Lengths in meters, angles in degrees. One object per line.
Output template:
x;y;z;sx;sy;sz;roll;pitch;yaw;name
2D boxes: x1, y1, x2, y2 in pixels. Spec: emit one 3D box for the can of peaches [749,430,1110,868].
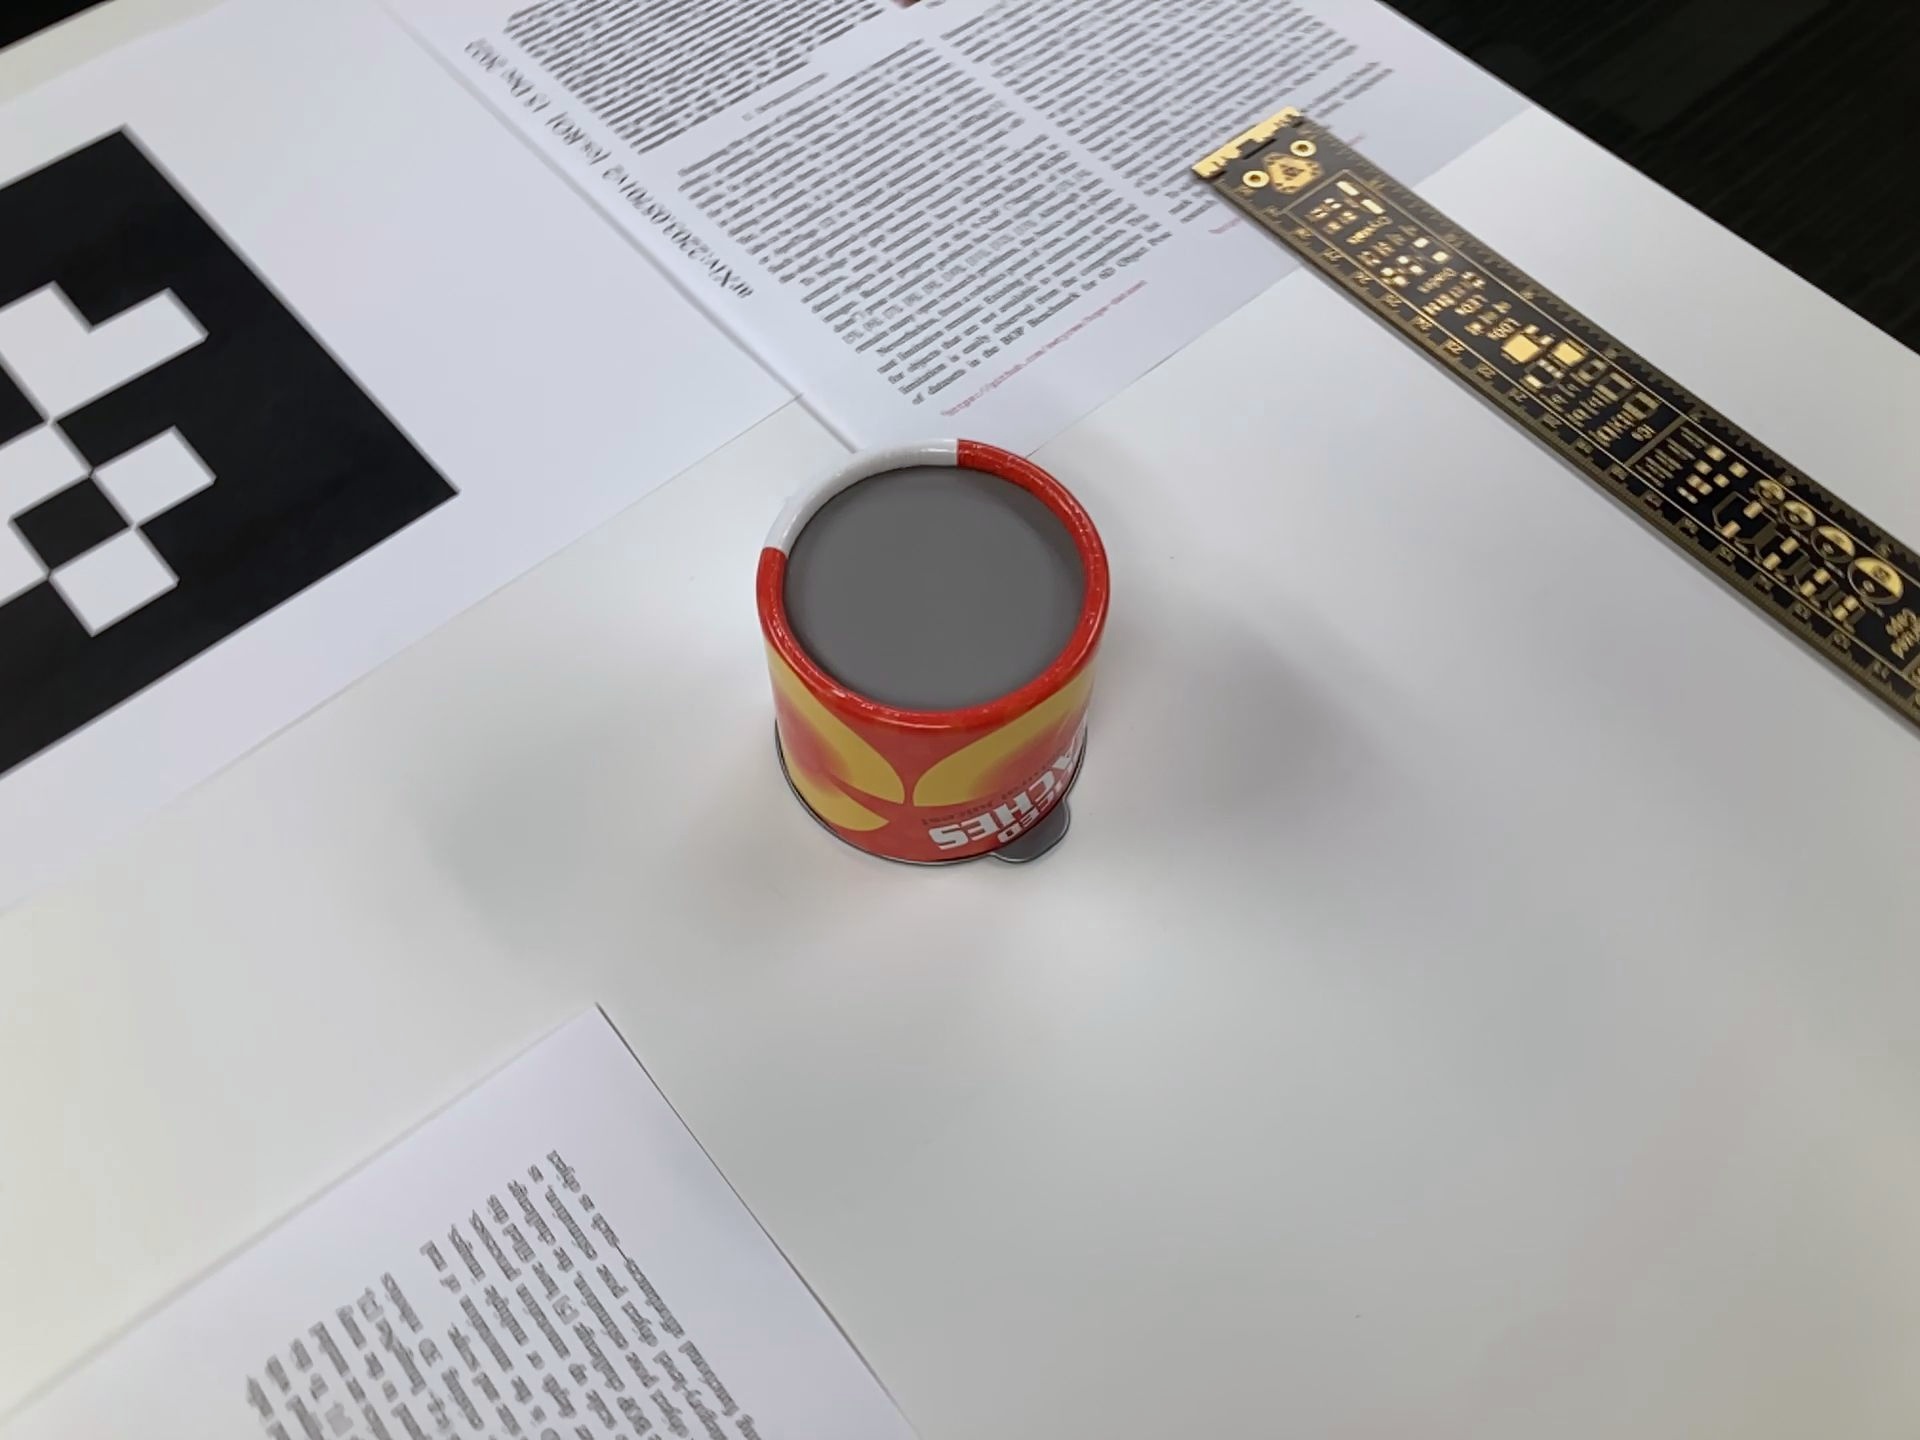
-0.004;-0.012;0.308;0.071;0.058;0.071;0;60;-1;can of peaches
